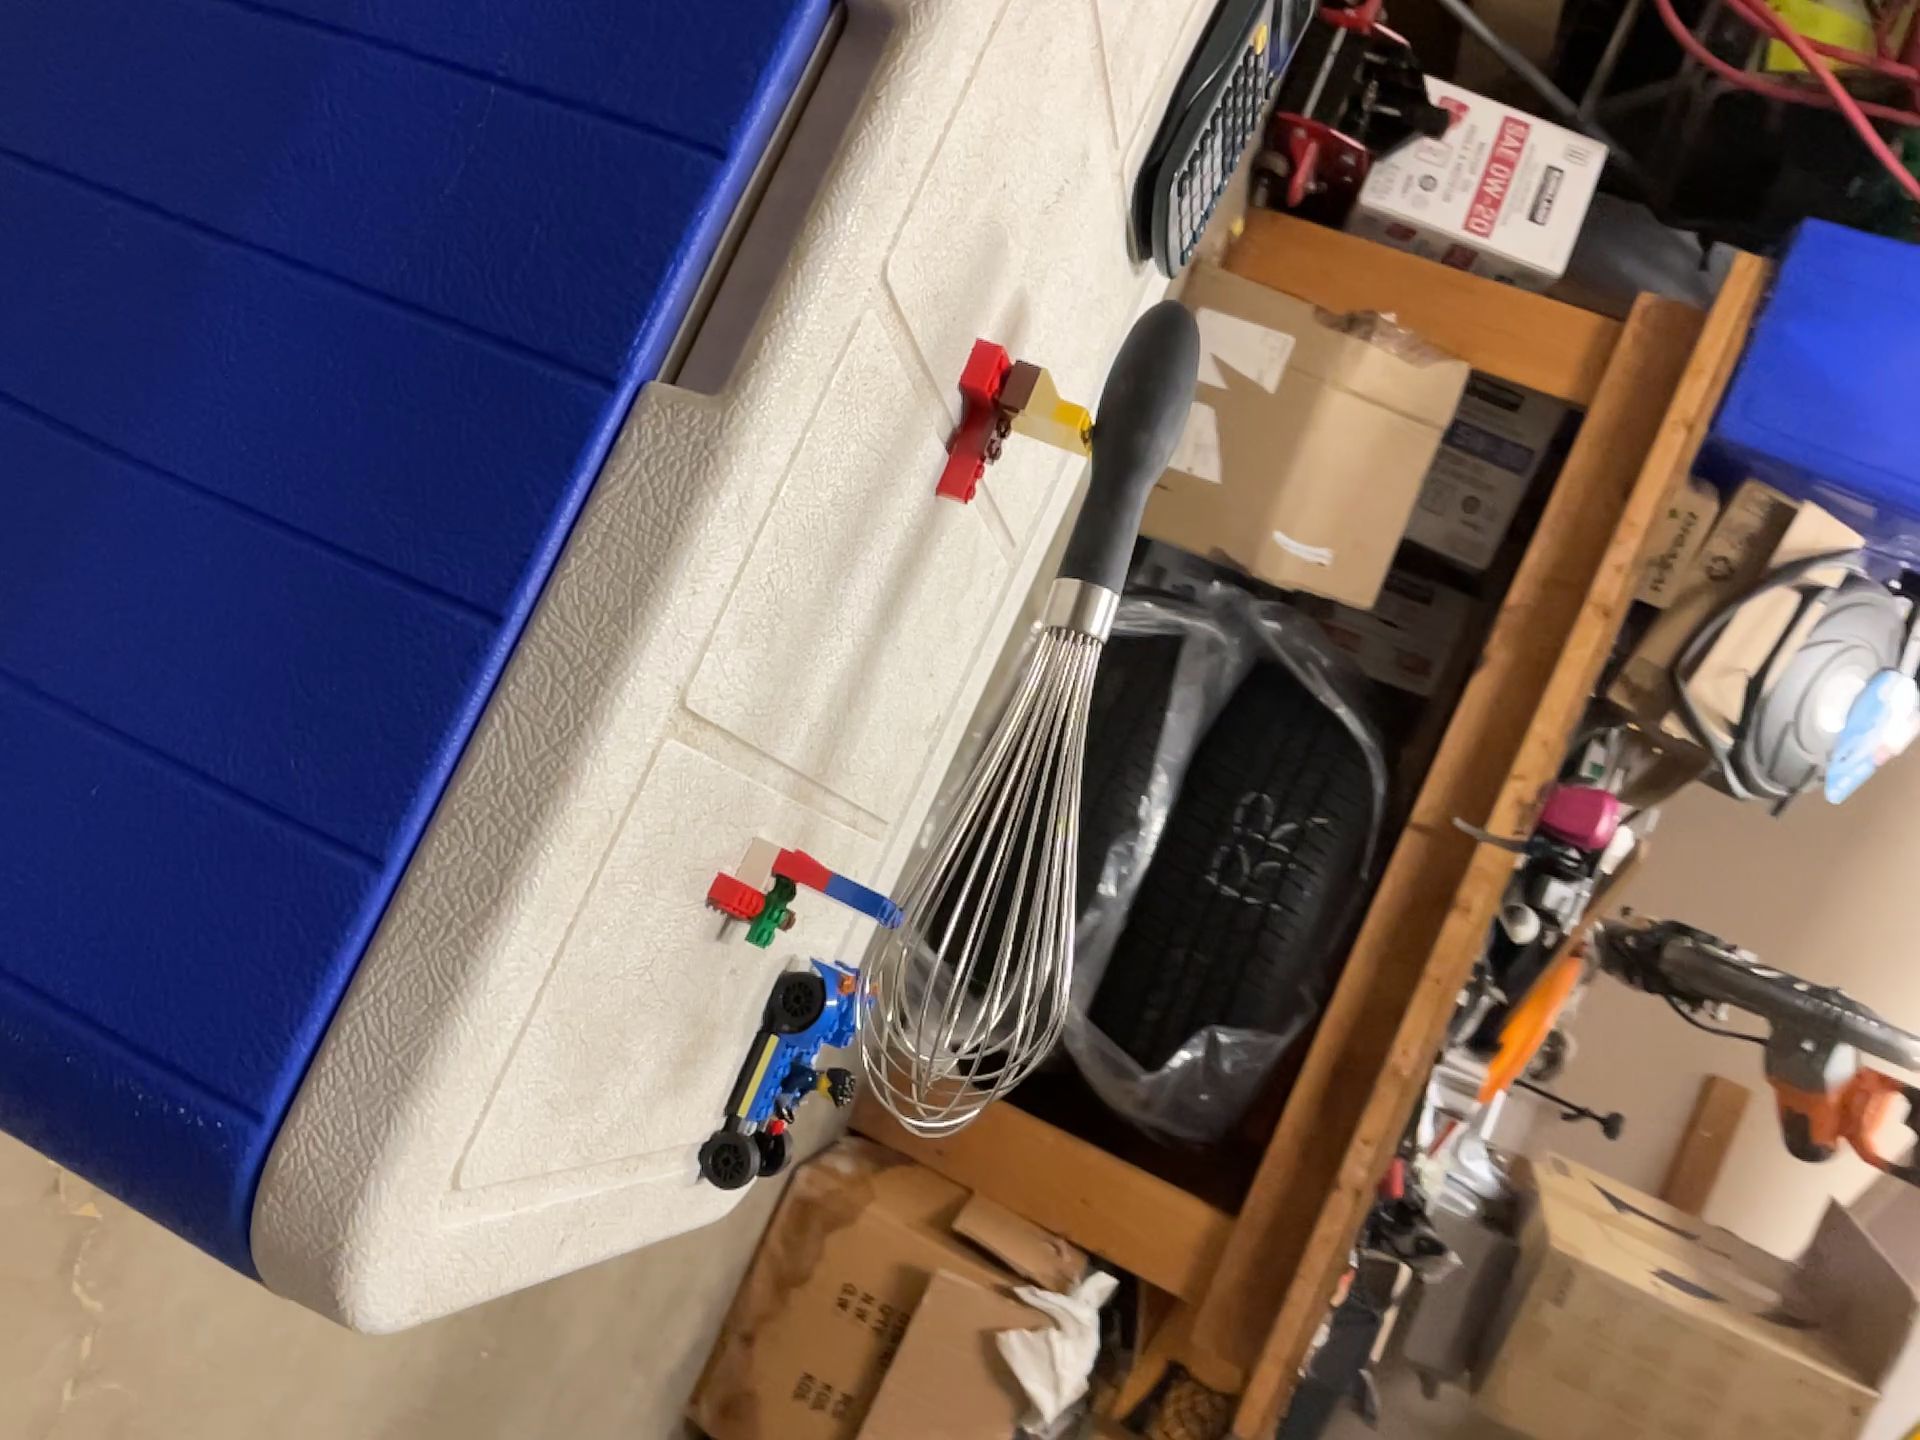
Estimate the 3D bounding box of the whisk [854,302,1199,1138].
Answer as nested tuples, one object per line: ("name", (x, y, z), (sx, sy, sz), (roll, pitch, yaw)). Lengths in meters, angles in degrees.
("whisk", (0.030, -0.005, 0.520), (0.070, 0.070, 0.284), (37, 70, -71))
